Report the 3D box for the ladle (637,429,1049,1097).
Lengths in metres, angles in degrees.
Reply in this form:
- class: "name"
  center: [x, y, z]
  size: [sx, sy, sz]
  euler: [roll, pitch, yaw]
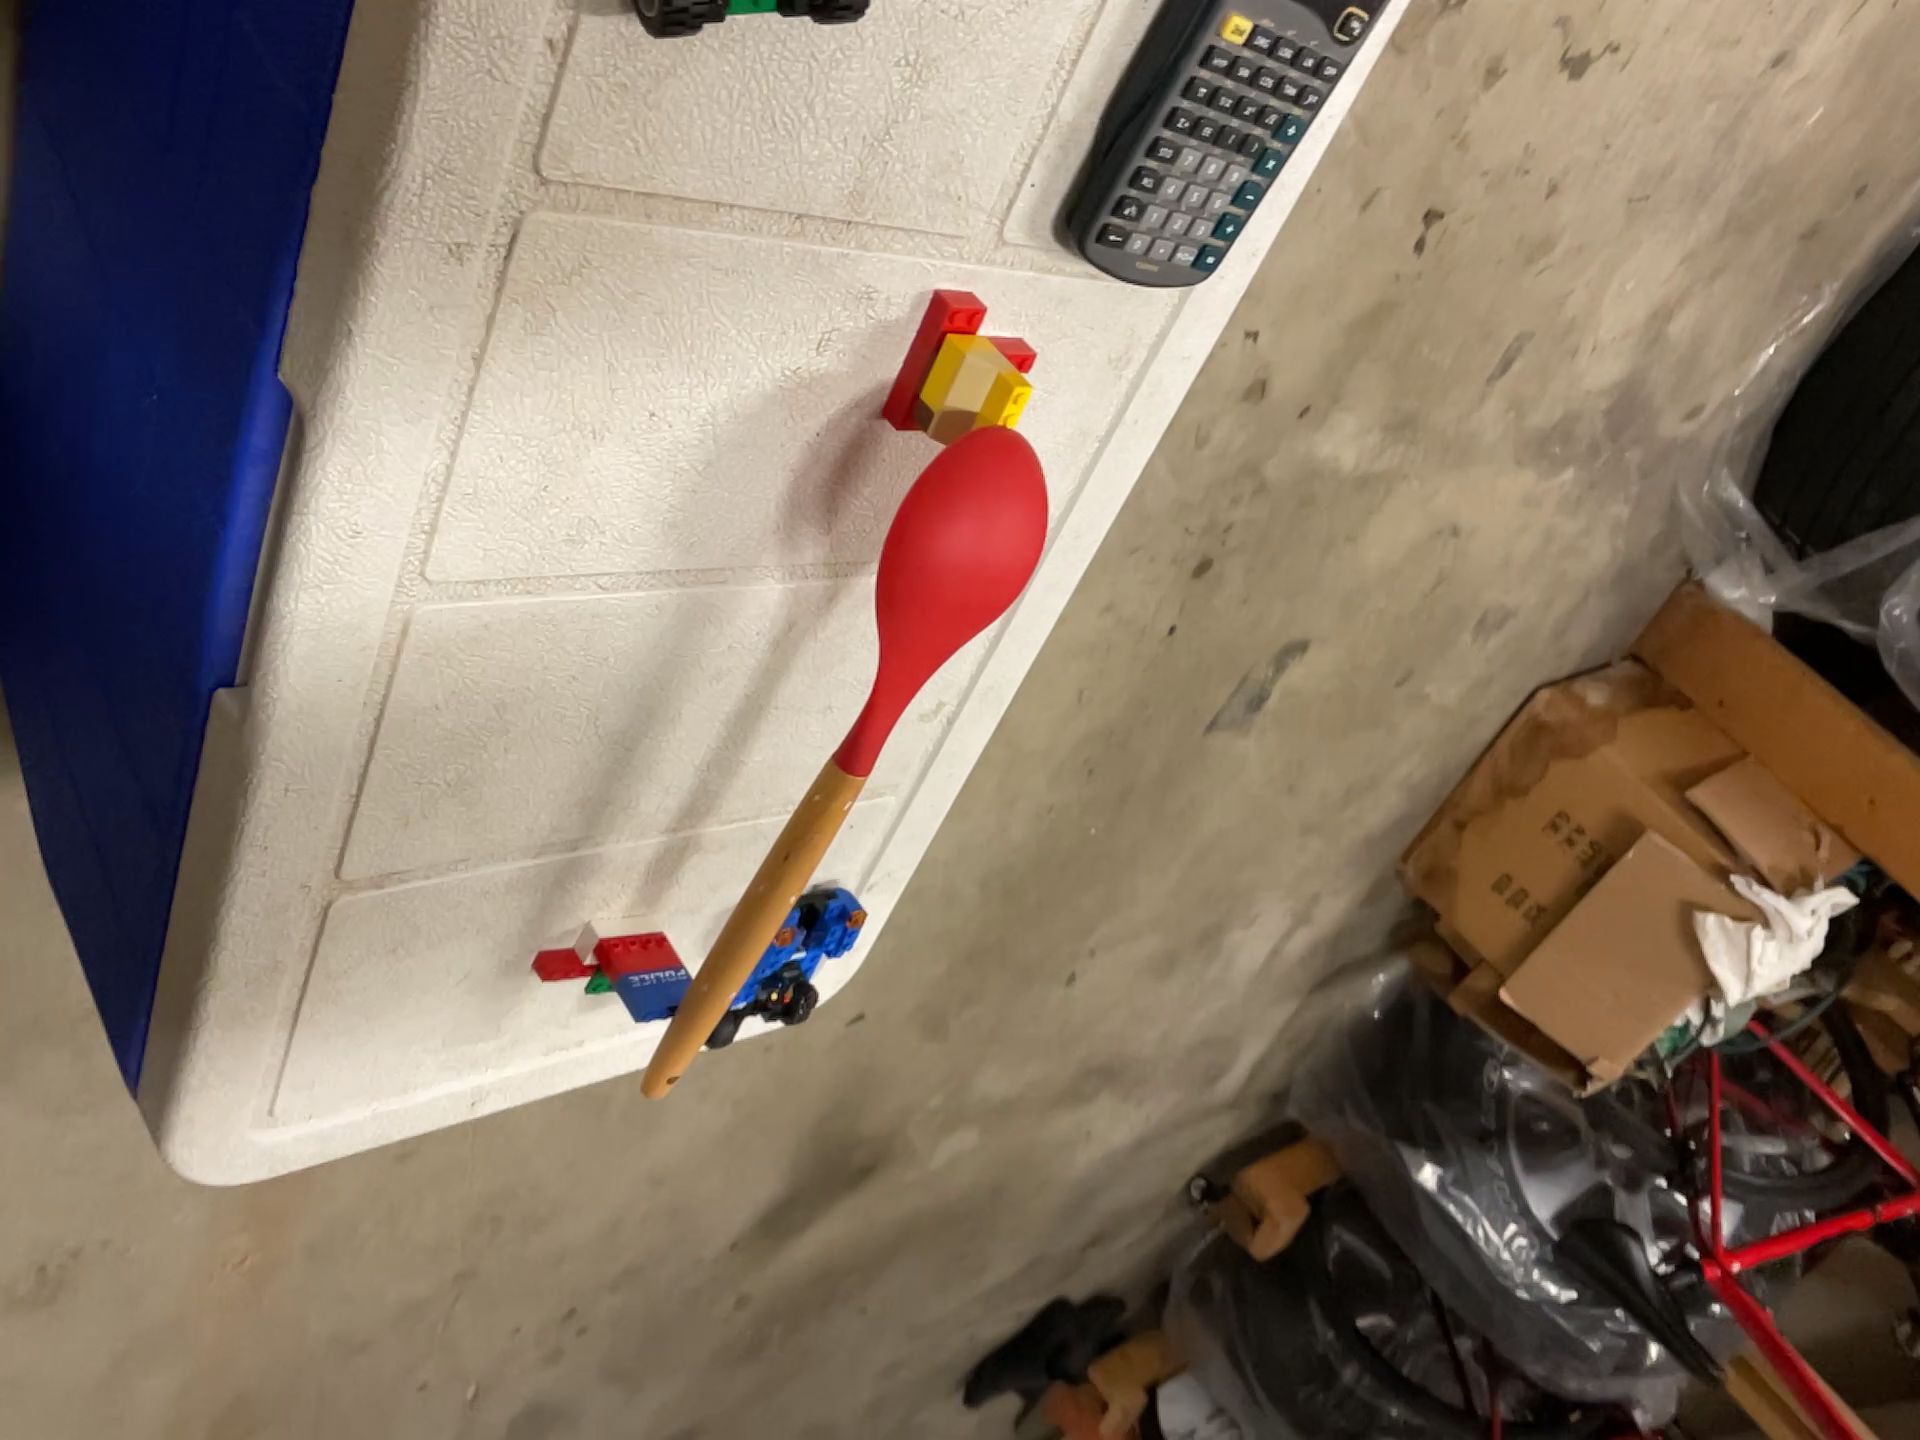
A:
- class: "ladle"
  center: [-0.053, 0.034, 0.574]
  size: [0.069, 0.031, 0.315]
  euler: [-3, 135, -47]
